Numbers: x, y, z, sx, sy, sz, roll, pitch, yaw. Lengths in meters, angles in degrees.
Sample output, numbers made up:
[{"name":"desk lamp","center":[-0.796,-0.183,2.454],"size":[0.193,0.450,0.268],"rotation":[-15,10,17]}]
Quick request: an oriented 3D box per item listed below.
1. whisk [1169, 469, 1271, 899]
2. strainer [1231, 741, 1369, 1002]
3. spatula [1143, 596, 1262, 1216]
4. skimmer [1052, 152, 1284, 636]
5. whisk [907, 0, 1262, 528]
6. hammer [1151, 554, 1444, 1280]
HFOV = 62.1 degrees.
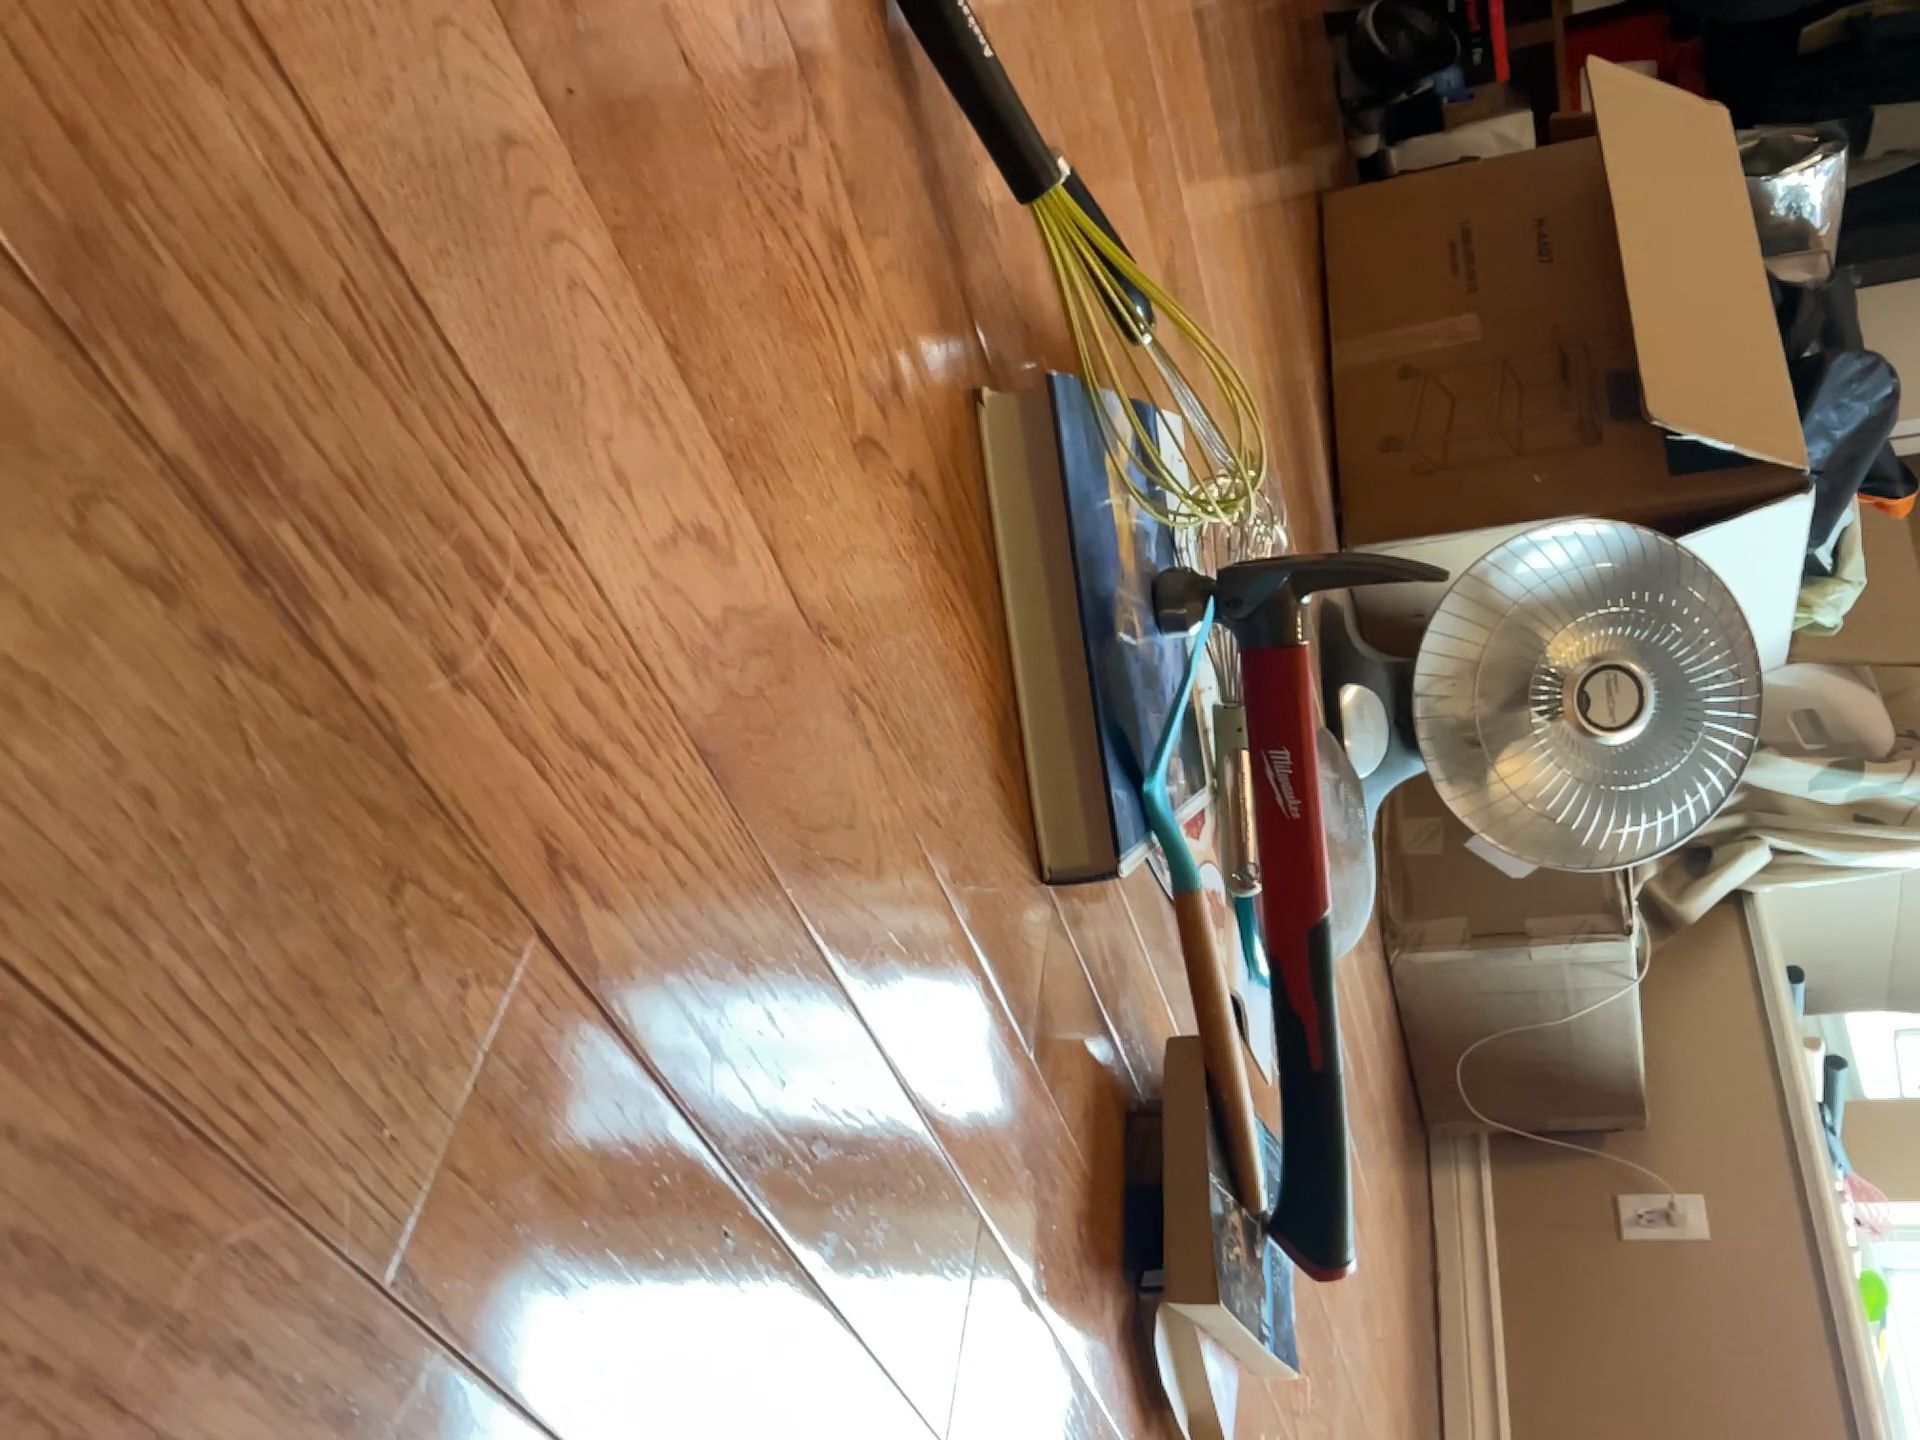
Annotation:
[{"name":"whisk","center":[0.151,-0.017,0.891],"size":[0.059,0.058,0.246],"rotation":[-141,-136,-72]},{"name":"strainer","center":[0.232,0.067,1.093],"size":[0.340,0.095,0.211],"rotation":[58,32,-65]},{"name":"spatula","center":[0.123,0.103,0.757],"size":[0.082,0.044,0.317],"rotation":[-58,137,-64]},{"name":"skimmer","center":[0.105,-0.179,0.938],"size":[0.363,0.090,0.128],"rotation":[45,43,-45]},{"name":"whisk","center":[0.048,-0.206,0.687],"size":[0.311,0.067,0.080],"rotation":[55,47,-28]},{"name":"hammer","center":[0.190,0.108,0.829],"size":[0.038,0.143,0.386],"rotation":[-30,115,-66]}]
